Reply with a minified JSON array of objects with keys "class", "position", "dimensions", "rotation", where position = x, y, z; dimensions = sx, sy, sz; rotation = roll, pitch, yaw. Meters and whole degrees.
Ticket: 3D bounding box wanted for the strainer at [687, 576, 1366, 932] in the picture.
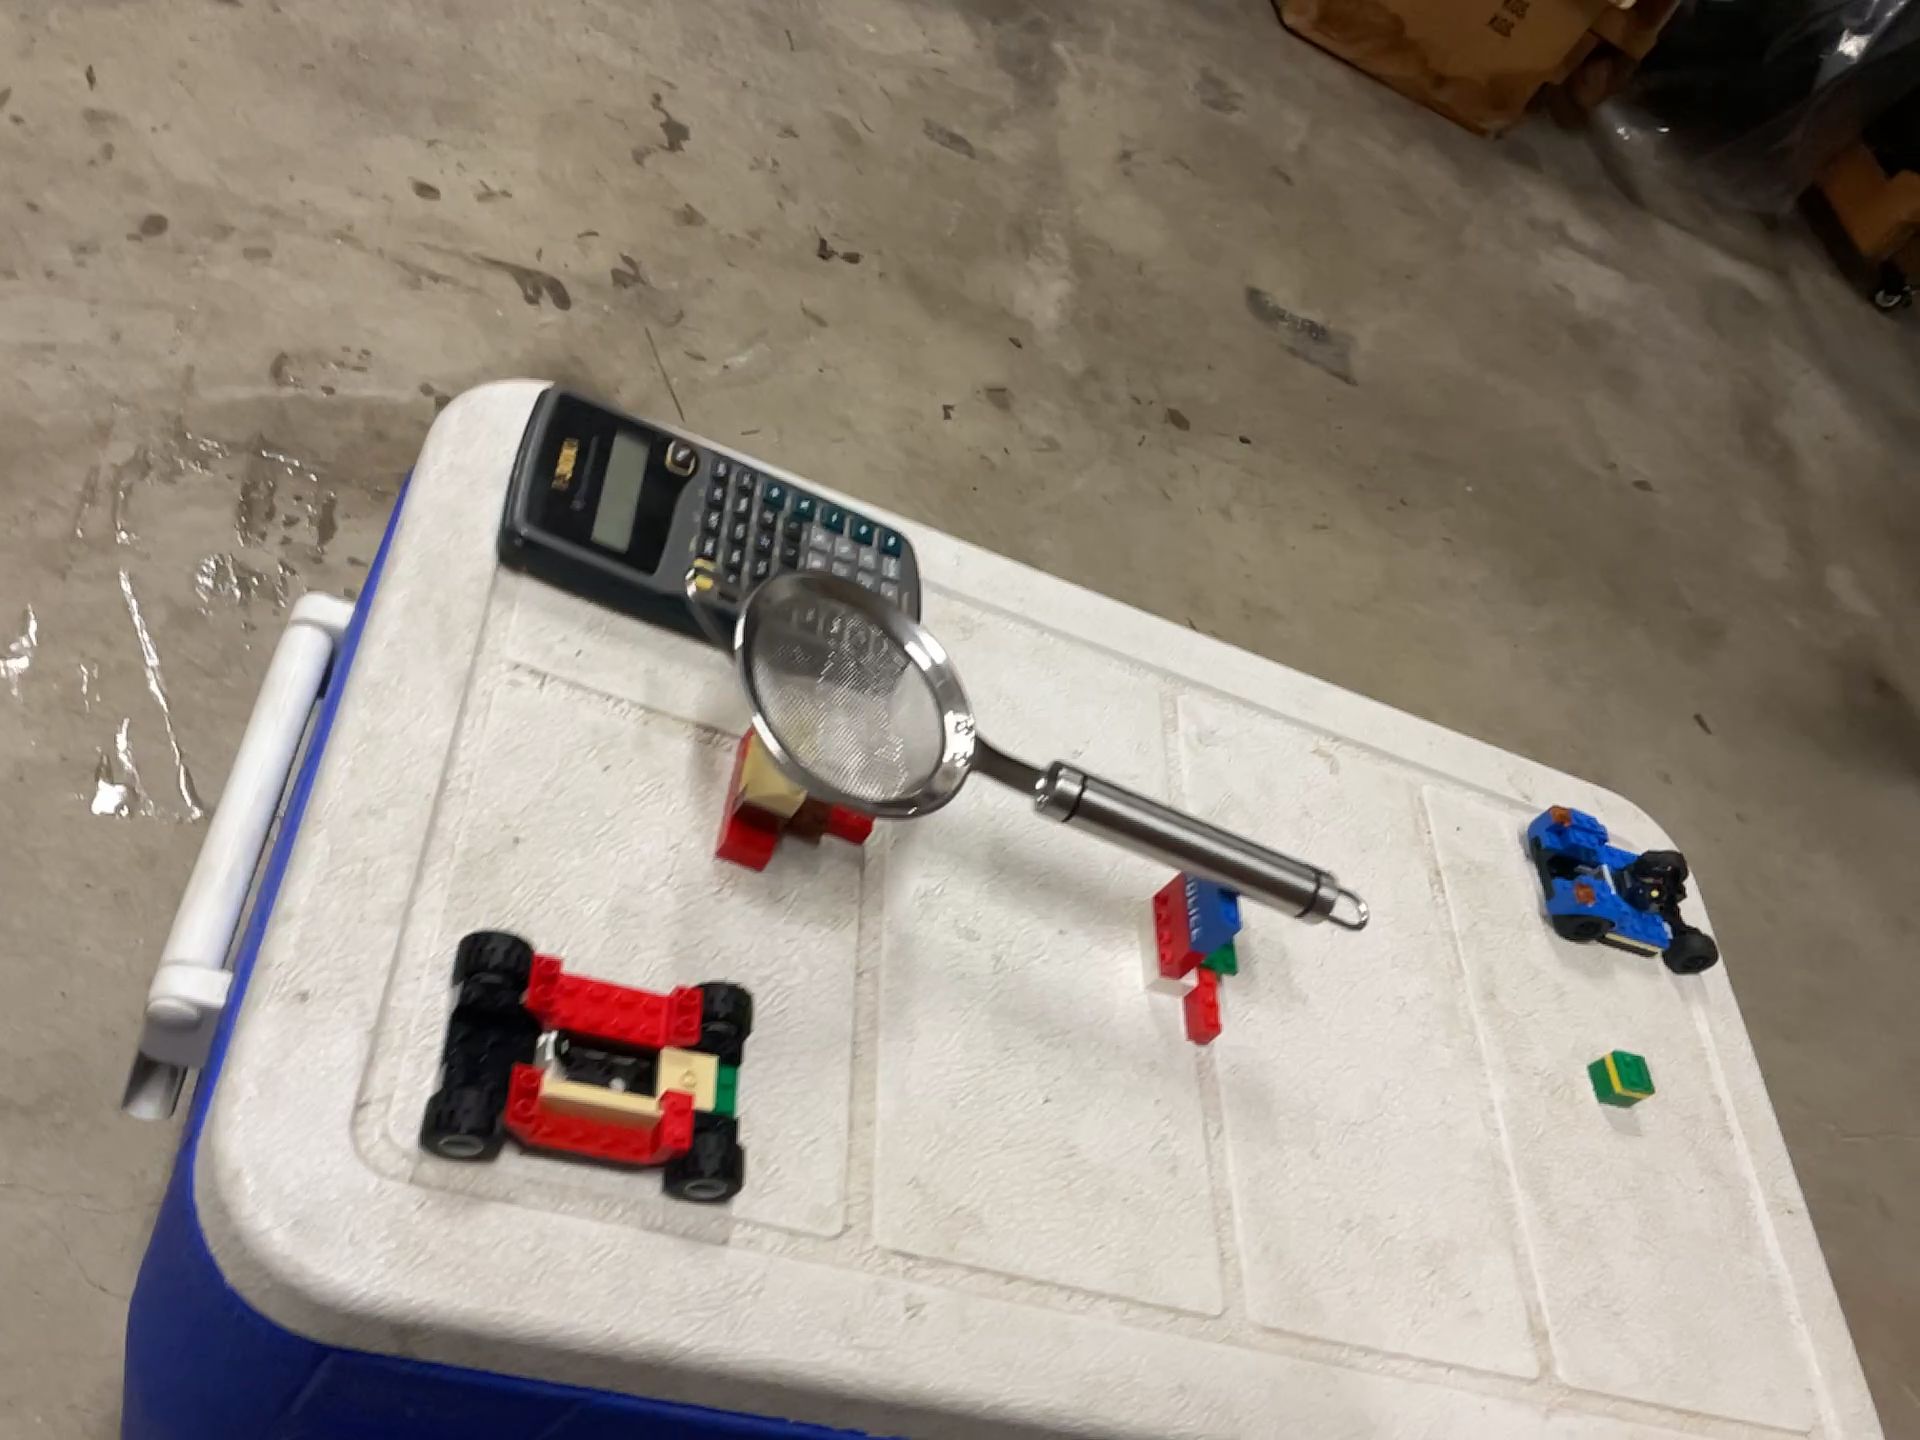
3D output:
[{"class":"strainer","position":[0.025,0.023,0.509],"dimensions":[0.258,0.050,0.087],"rotation":[23,47,-18]}]
